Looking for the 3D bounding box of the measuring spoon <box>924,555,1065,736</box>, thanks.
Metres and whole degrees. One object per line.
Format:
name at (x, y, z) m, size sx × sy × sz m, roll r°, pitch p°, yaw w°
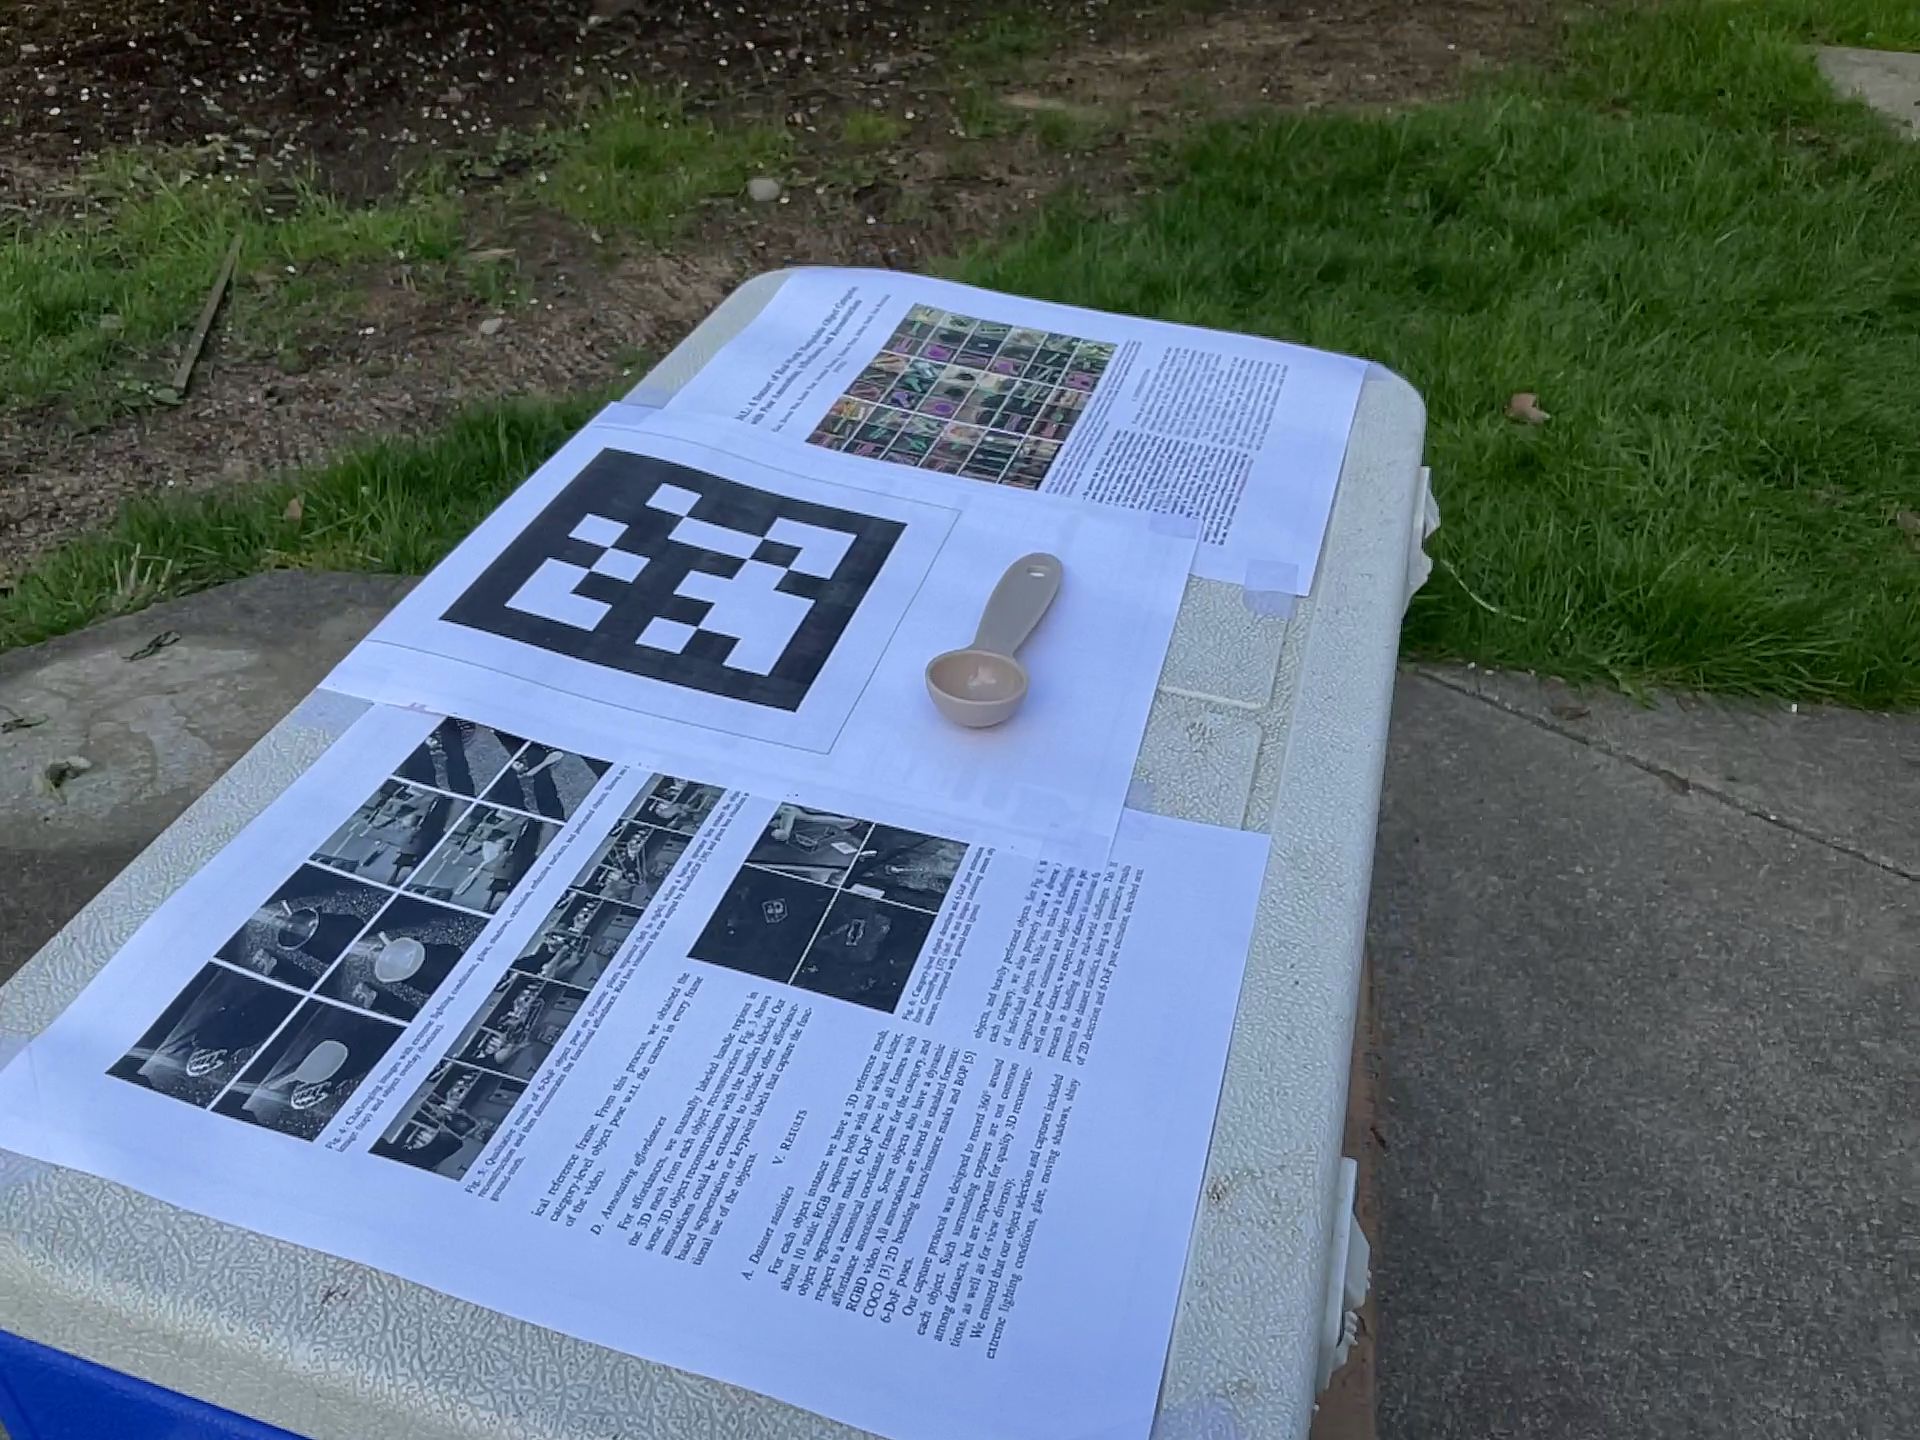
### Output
measuring spoon at (0.017, -0.027, 0.548) m, size 0.034 × 0.018 × 0.124 m, roll 11°, pitch 31°, yaw 11°
